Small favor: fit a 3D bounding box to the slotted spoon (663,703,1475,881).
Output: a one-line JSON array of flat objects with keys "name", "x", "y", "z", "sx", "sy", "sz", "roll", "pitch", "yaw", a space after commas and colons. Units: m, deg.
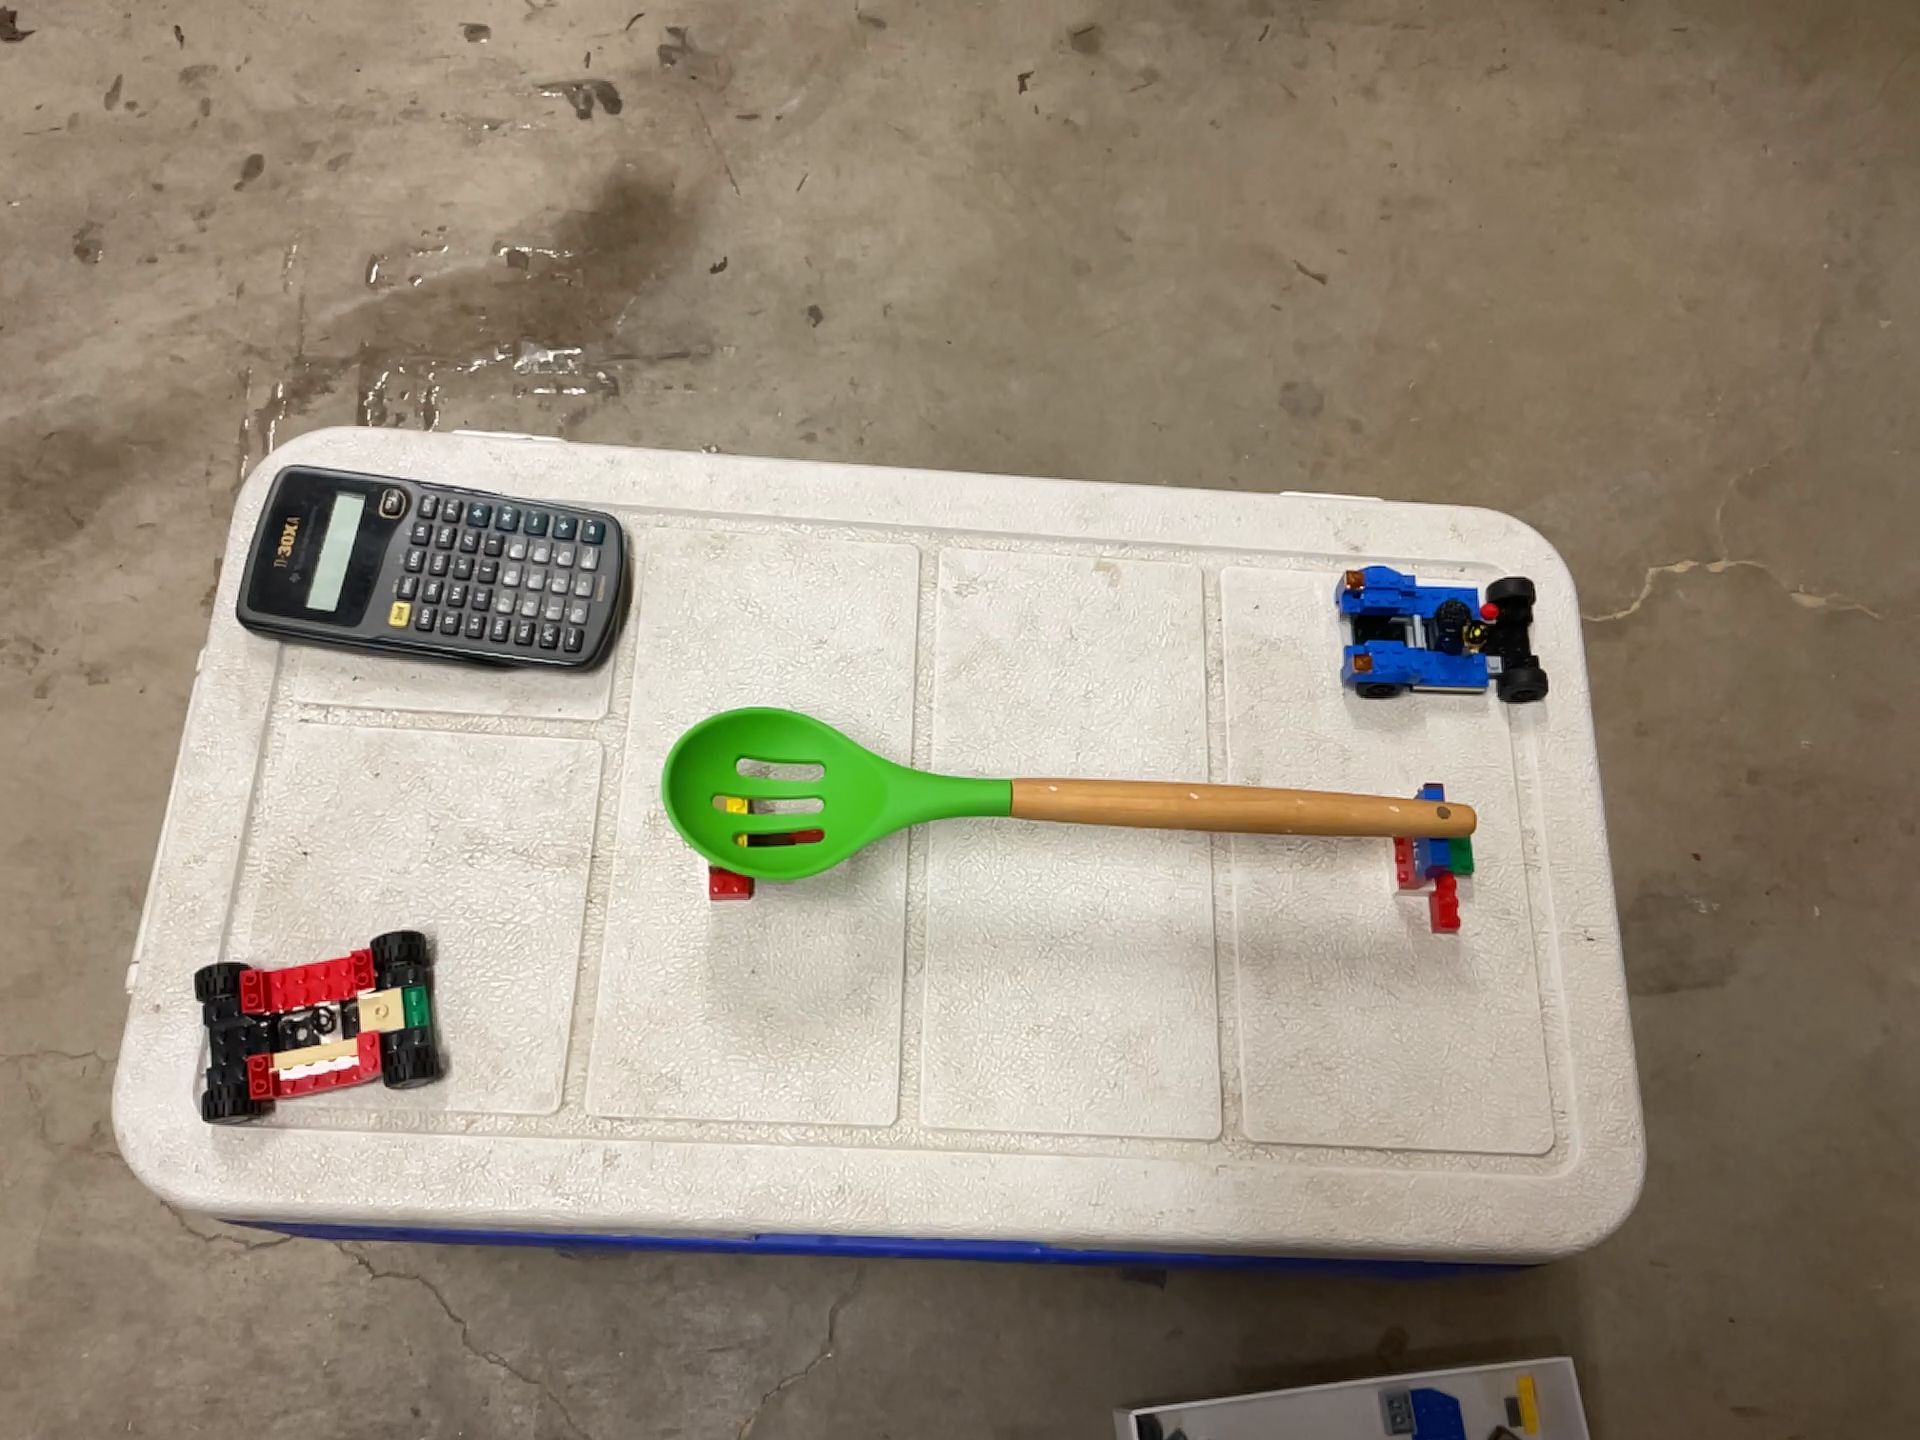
[{"name": "slotted spoon", "x": 0.046, "y": 0.033, "z": 0.615, "sx": 0.314, "sy": 0.031, "sz": 0.070, "roll": 3, "pitch": 66, "yaw": -6}]
